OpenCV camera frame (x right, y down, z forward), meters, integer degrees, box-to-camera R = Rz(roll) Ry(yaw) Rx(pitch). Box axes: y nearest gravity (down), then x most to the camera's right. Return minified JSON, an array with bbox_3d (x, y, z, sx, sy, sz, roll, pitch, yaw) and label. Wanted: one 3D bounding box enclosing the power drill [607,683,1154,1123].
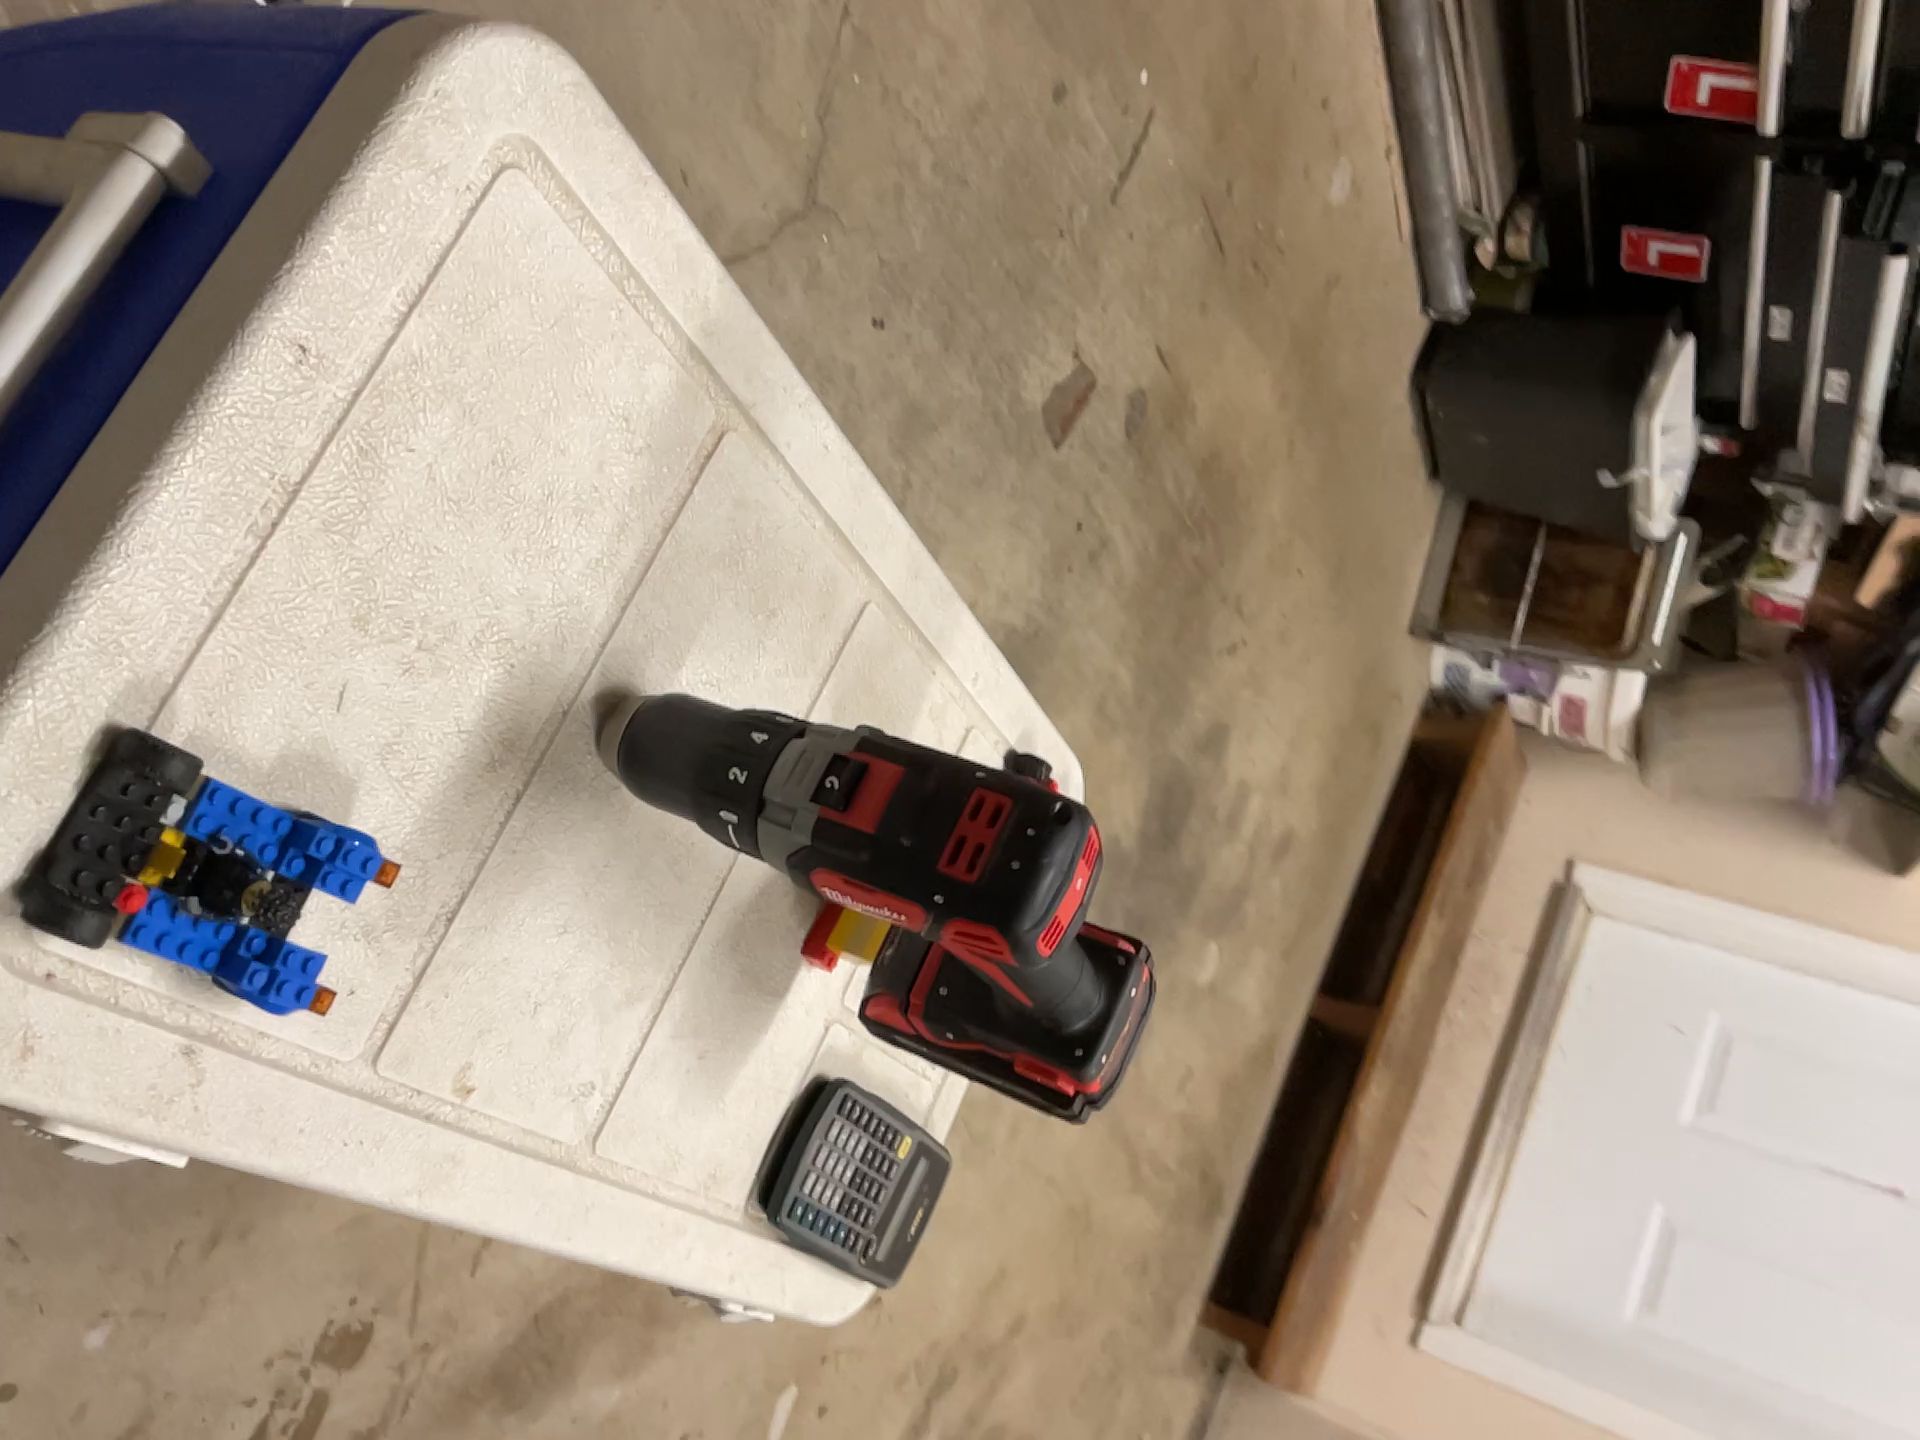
[{"bbox_3d":[-0.023,0.066,0.619,0.080,0.188,0.226,-62,154,-19],"label":"power drill"}]
